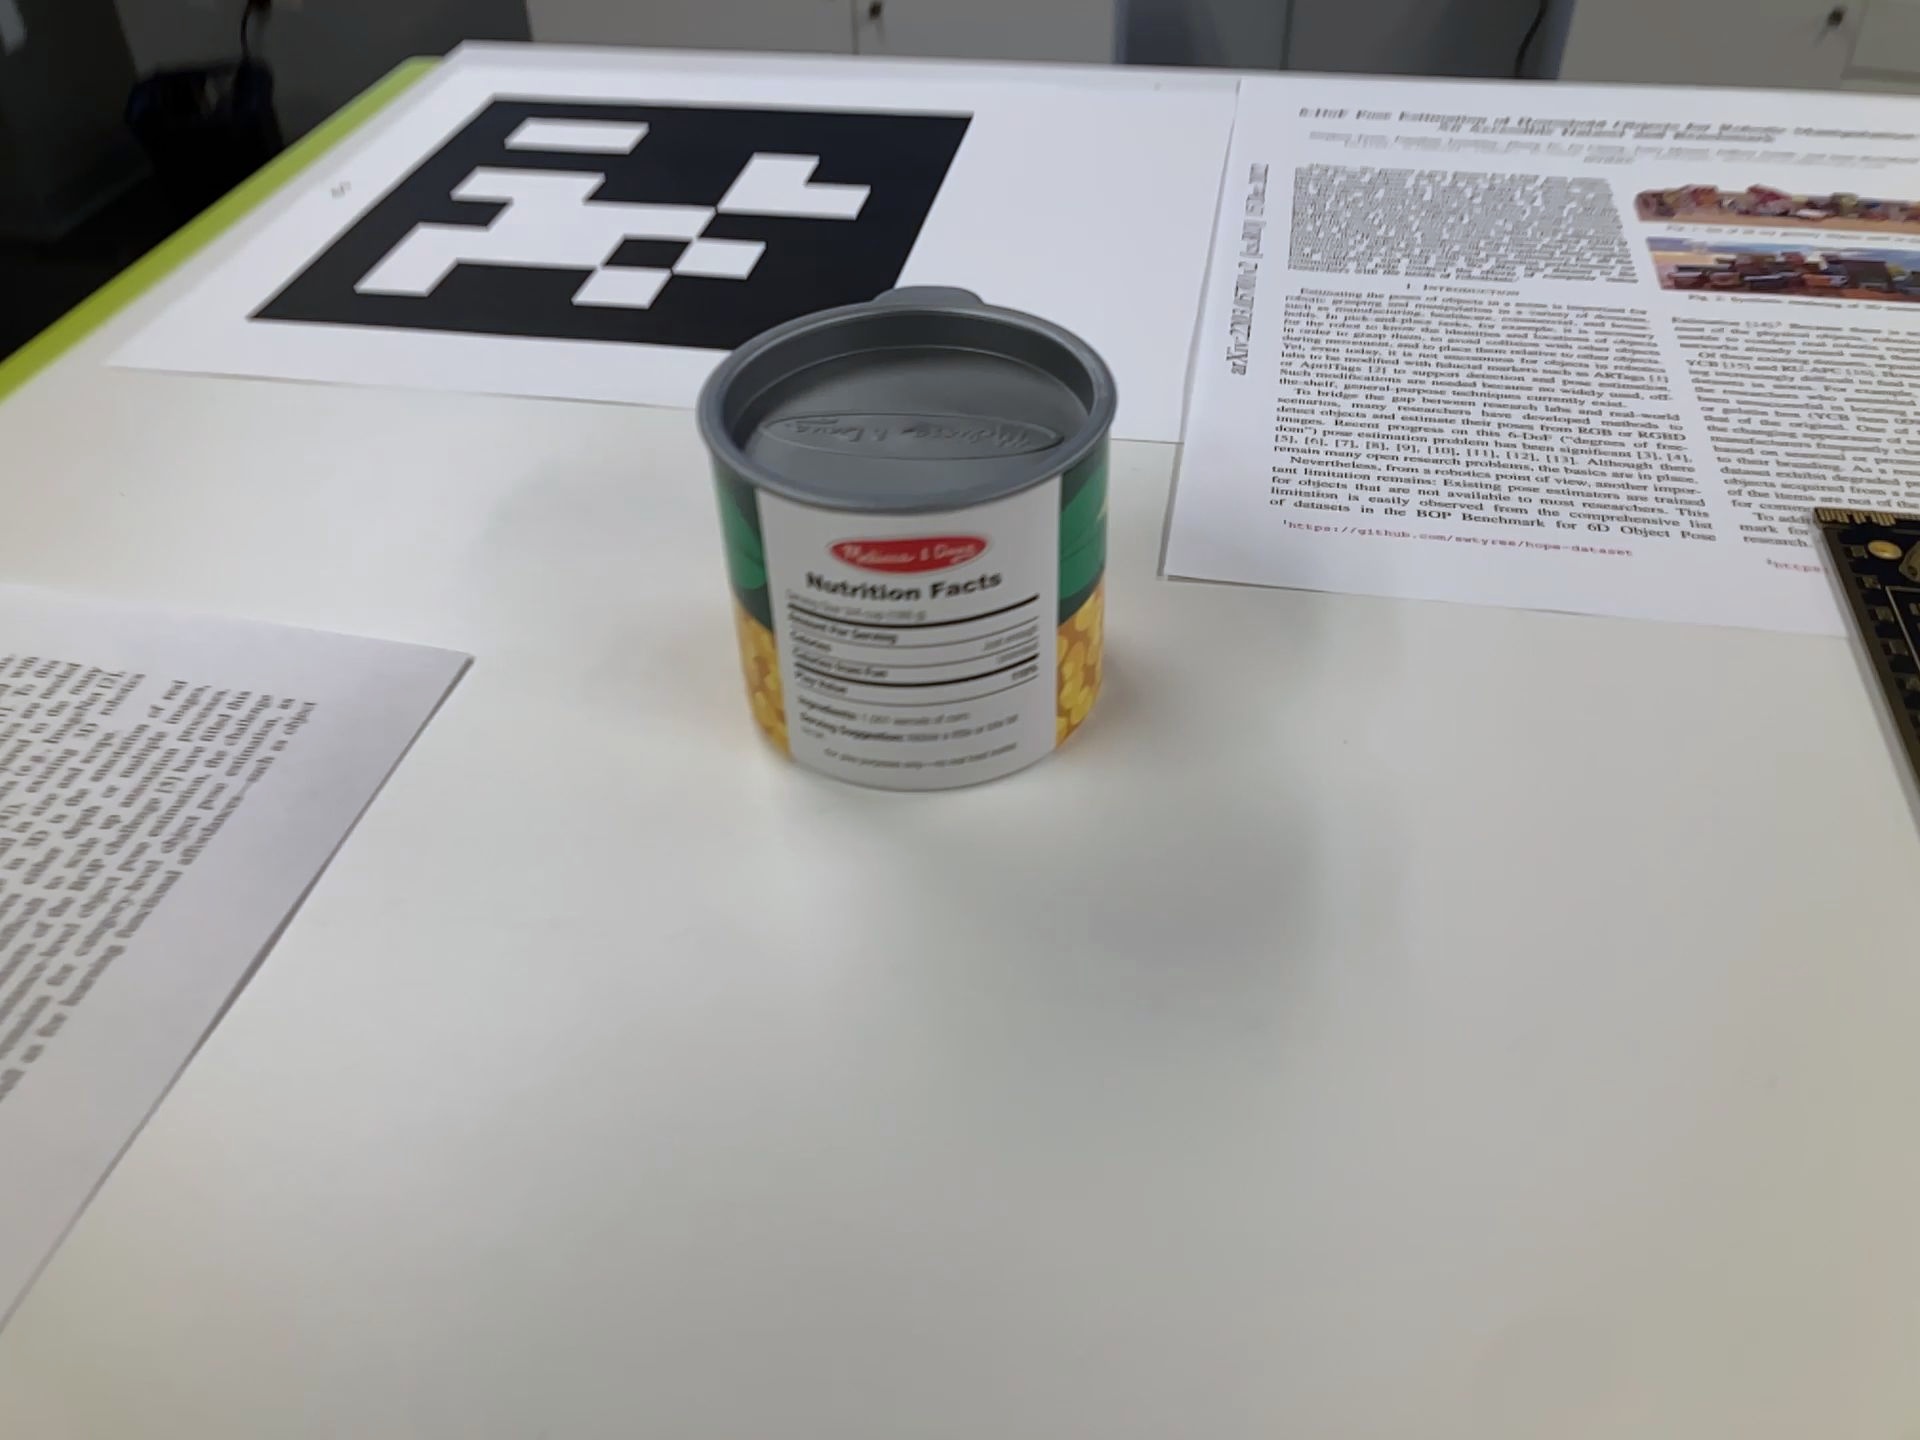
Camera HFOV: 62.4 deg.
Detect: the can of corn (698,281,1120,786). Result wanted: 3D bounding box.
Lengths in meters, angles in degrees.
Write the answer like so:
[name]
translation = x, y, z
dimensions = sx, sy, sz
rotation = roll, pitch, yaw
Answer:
[can of corn]
translation = -0.007, -0.033, 0.270
dimensions = 0.071, 0.058, 0.071
rotation = -1, 40, 1
